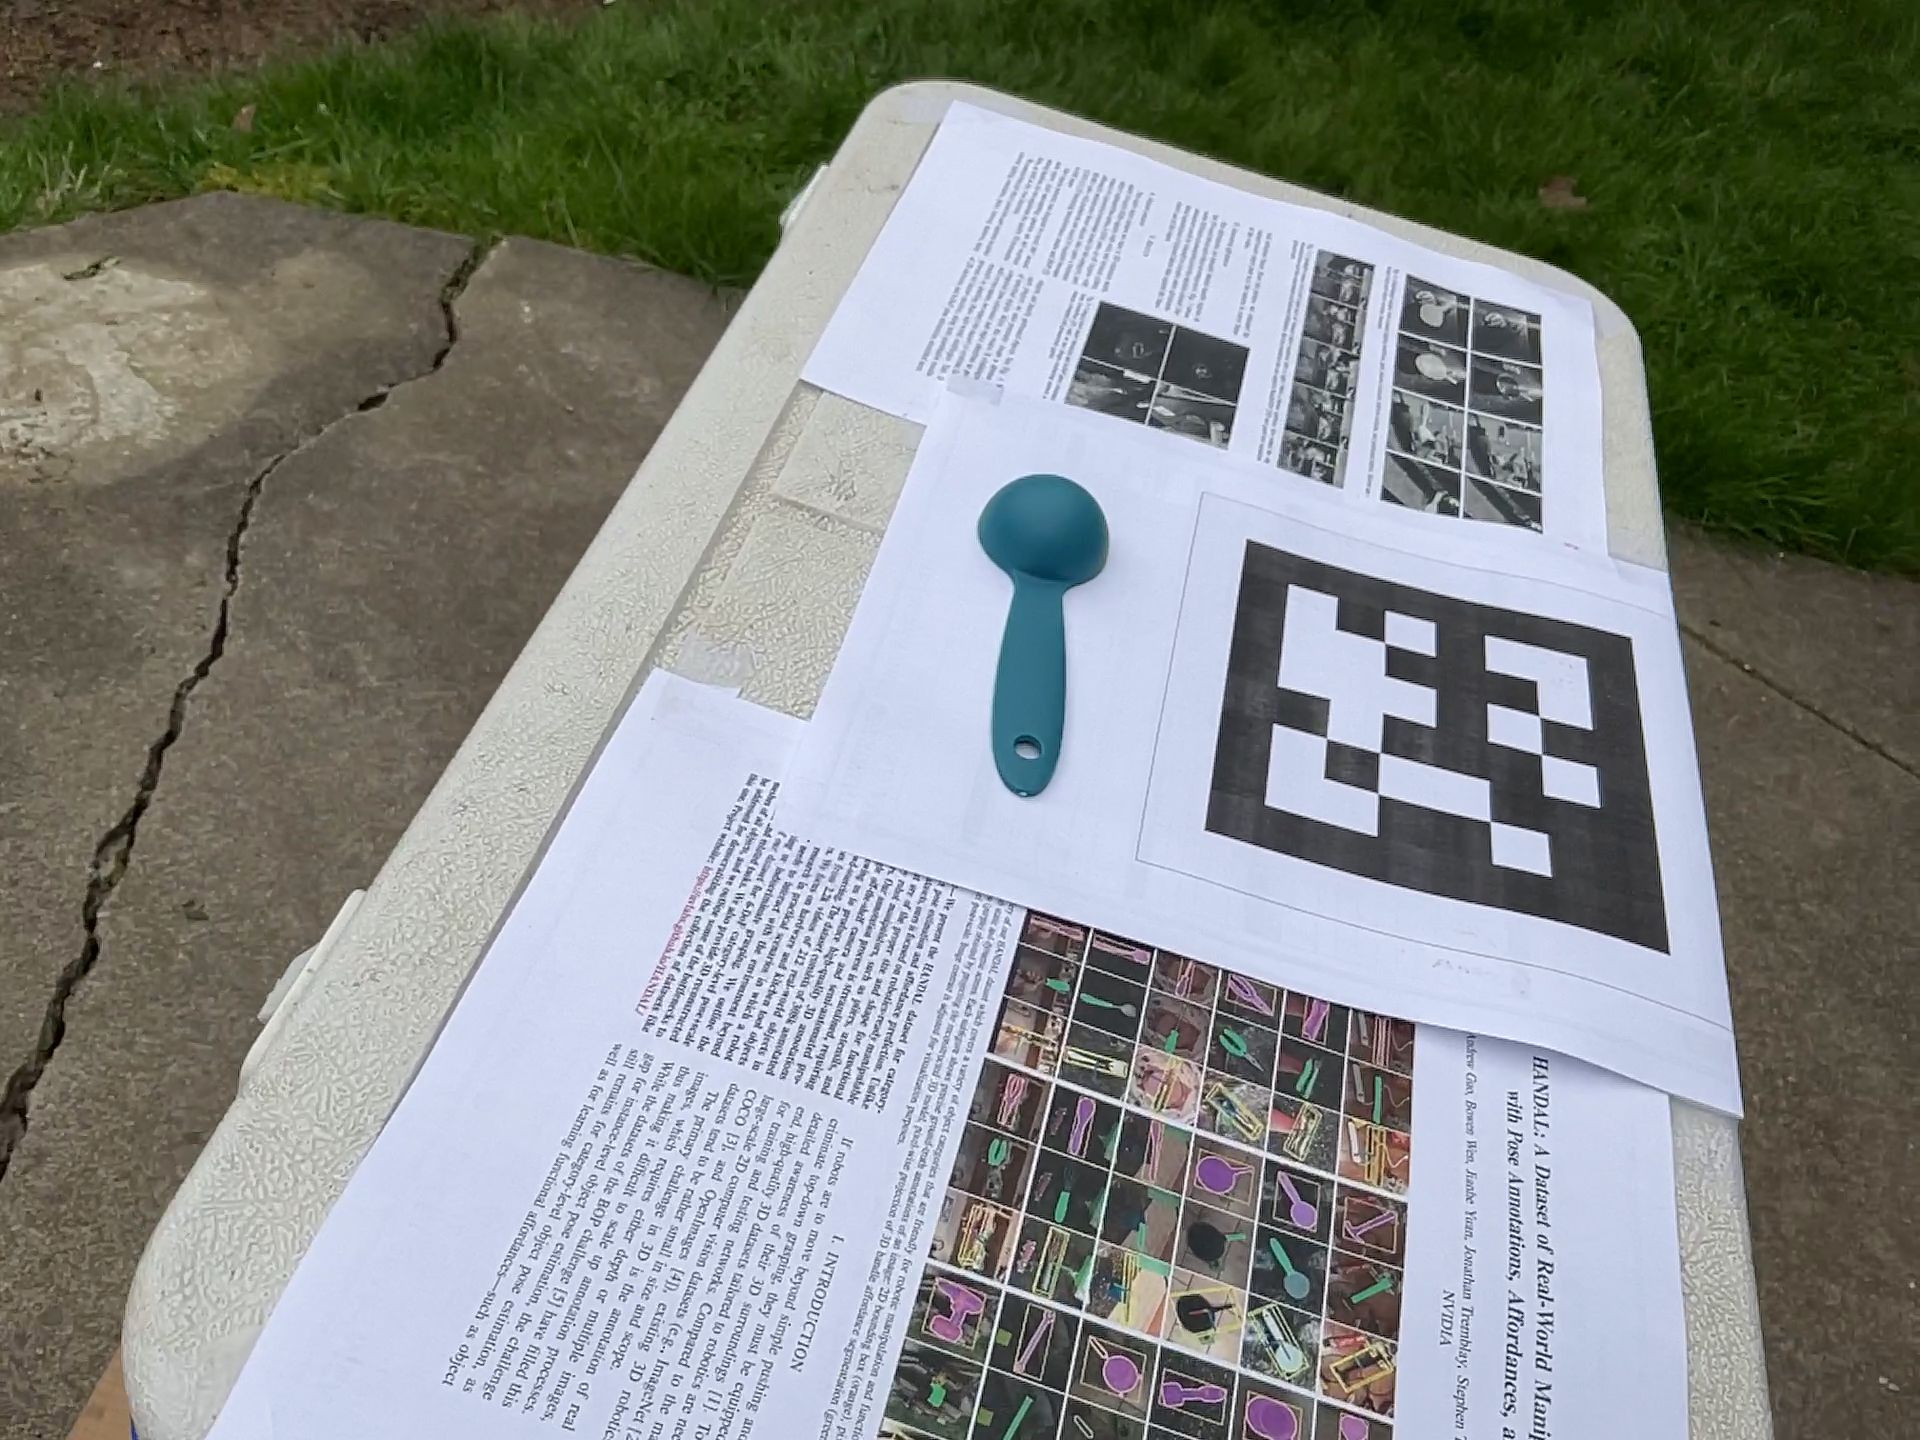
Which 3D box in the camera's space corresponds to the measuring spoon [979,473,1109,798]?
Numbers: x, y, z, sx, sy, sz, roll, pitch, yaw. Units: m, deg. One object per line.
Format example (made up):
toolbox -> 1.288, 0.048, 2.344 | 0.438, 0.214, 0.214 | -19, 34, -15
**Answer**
measuring spoon -> 0.025, -0.032, 0.469 | 0.042, 0.021, 0.129 | 15, 46, -9
